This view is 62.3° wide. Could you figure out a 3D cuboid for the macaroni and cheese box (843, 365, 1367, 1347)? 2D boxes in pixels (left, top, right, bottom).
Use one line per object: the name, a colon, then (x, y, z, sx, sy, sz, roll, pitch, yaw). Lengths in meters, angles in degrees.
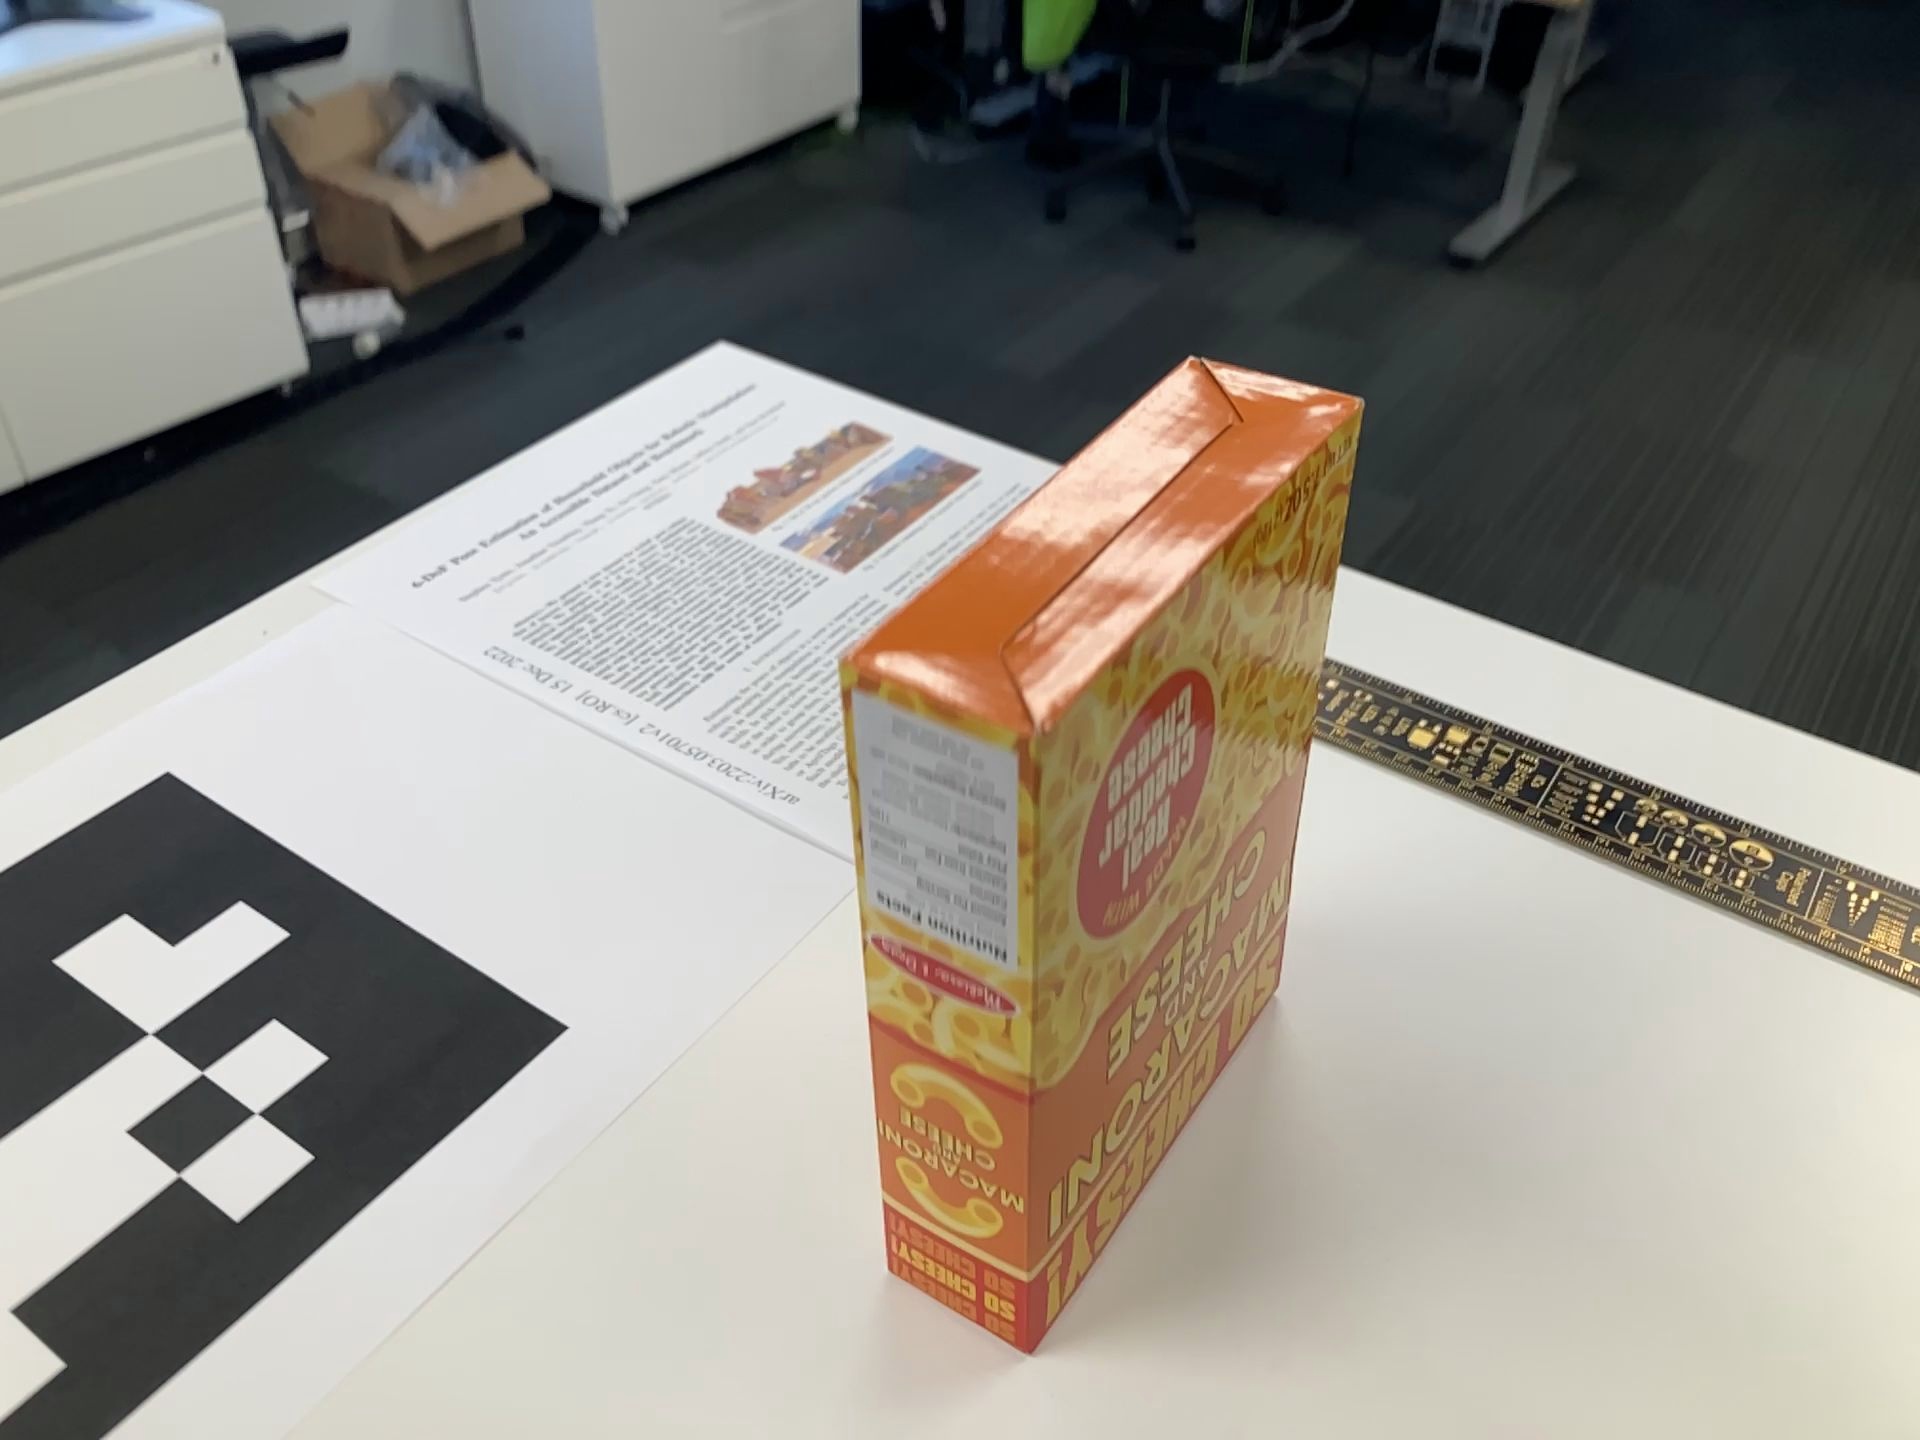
macaroni and cheese box: (0.032, 0.029, 0.329, 0.040, 0.166, 0.124, 22, 44, 27)
